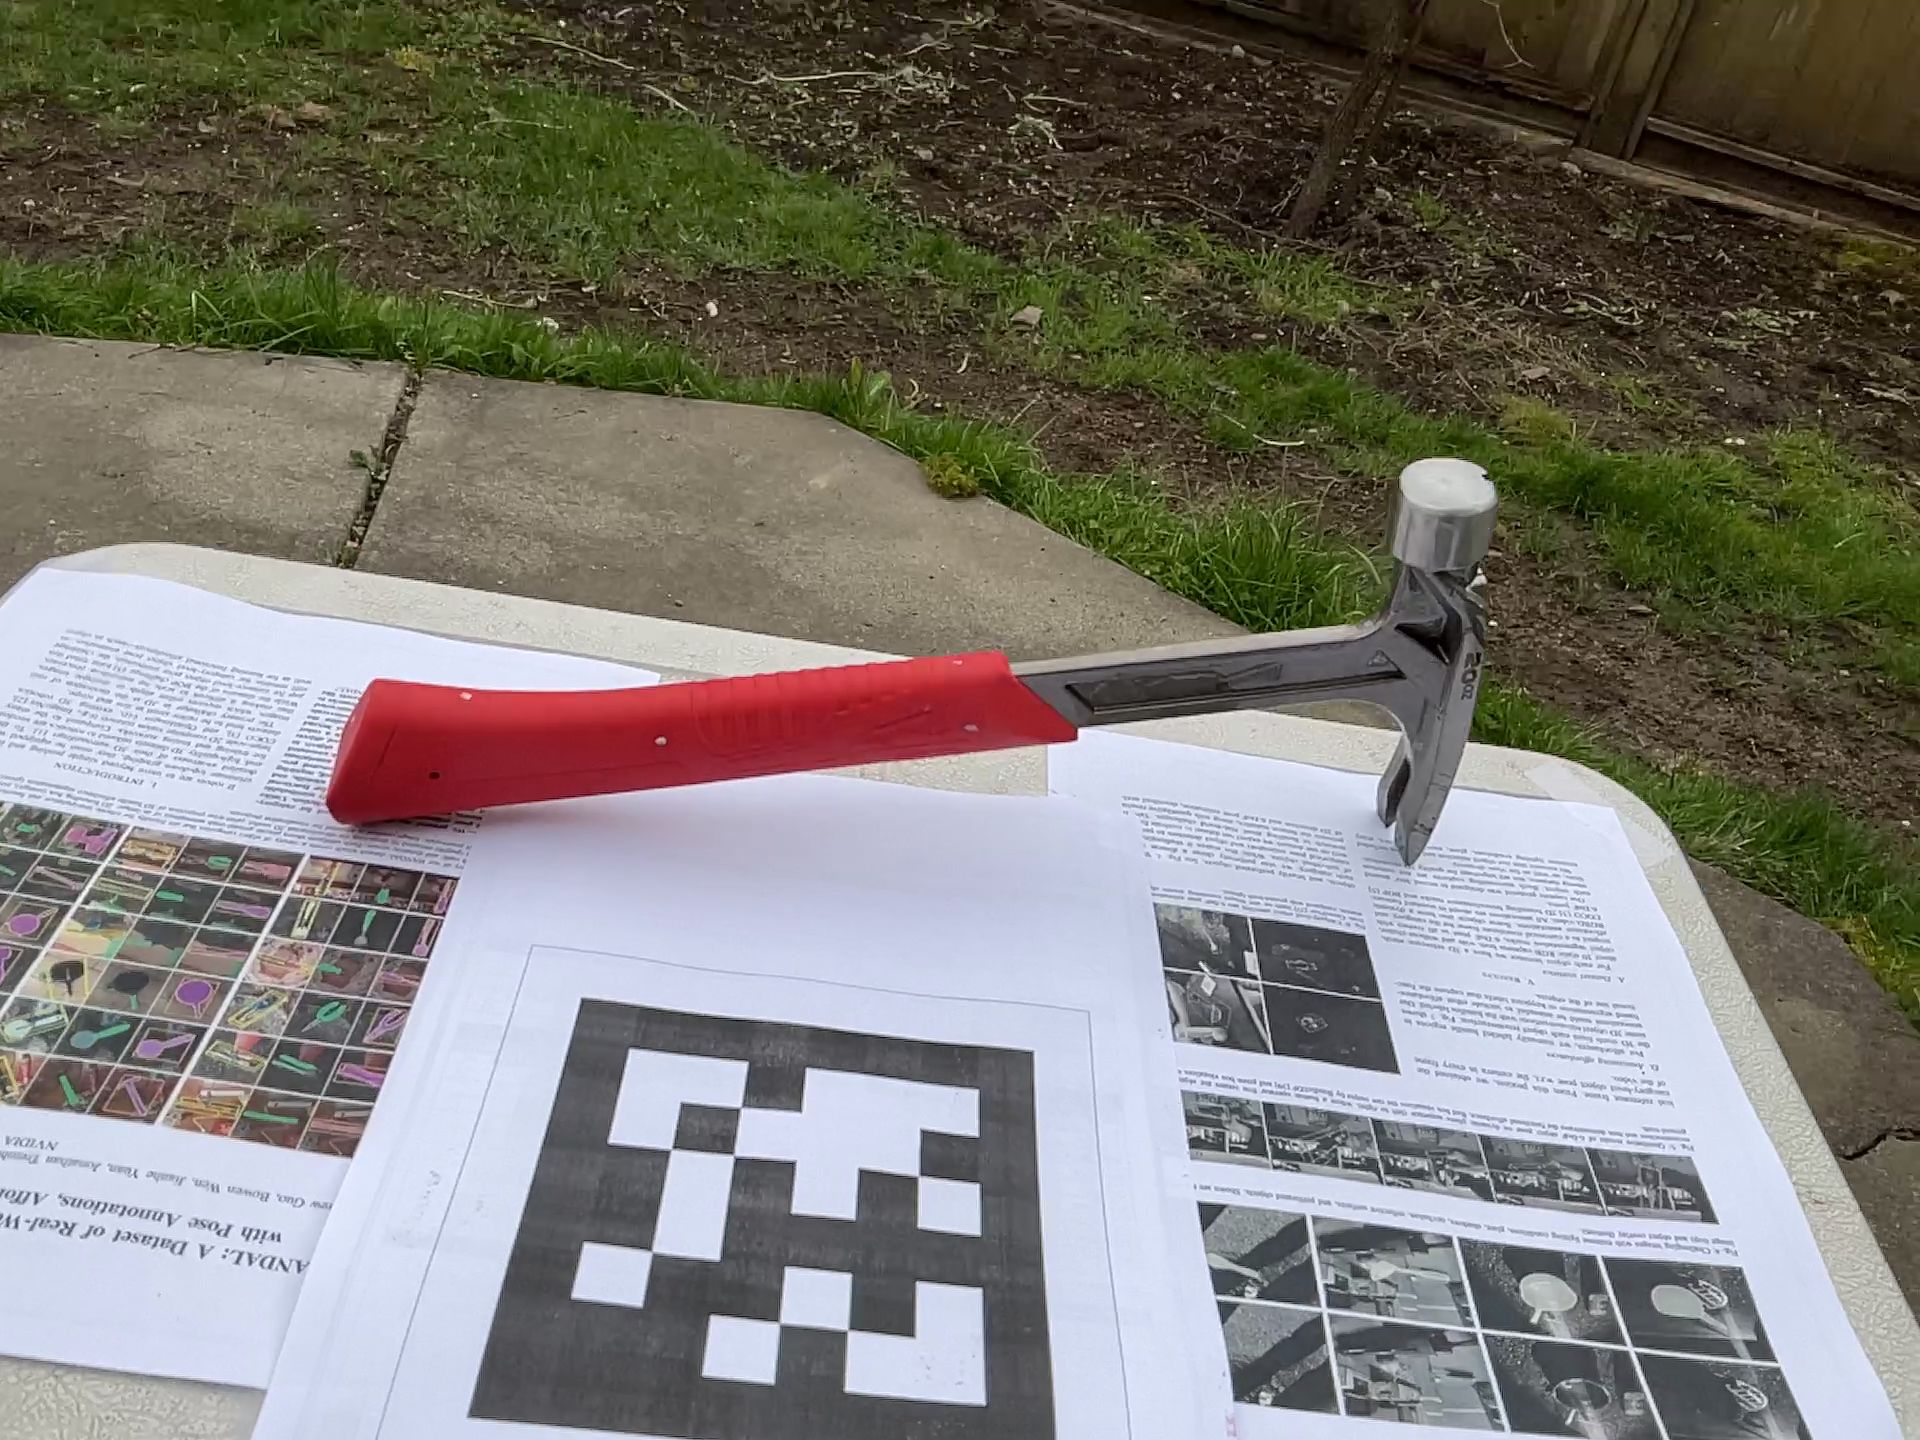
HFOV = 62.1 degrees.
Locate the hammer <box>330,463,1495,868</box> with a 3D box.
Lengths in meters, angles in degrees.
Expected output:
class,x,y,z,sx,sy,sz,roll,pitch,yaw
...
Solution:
class,x,y,z,sx,sy,sz,roll,pitch,yaw
hammer,-0.012,0.005,0.511,0.359,0.149,0.037,-7,40,-5
